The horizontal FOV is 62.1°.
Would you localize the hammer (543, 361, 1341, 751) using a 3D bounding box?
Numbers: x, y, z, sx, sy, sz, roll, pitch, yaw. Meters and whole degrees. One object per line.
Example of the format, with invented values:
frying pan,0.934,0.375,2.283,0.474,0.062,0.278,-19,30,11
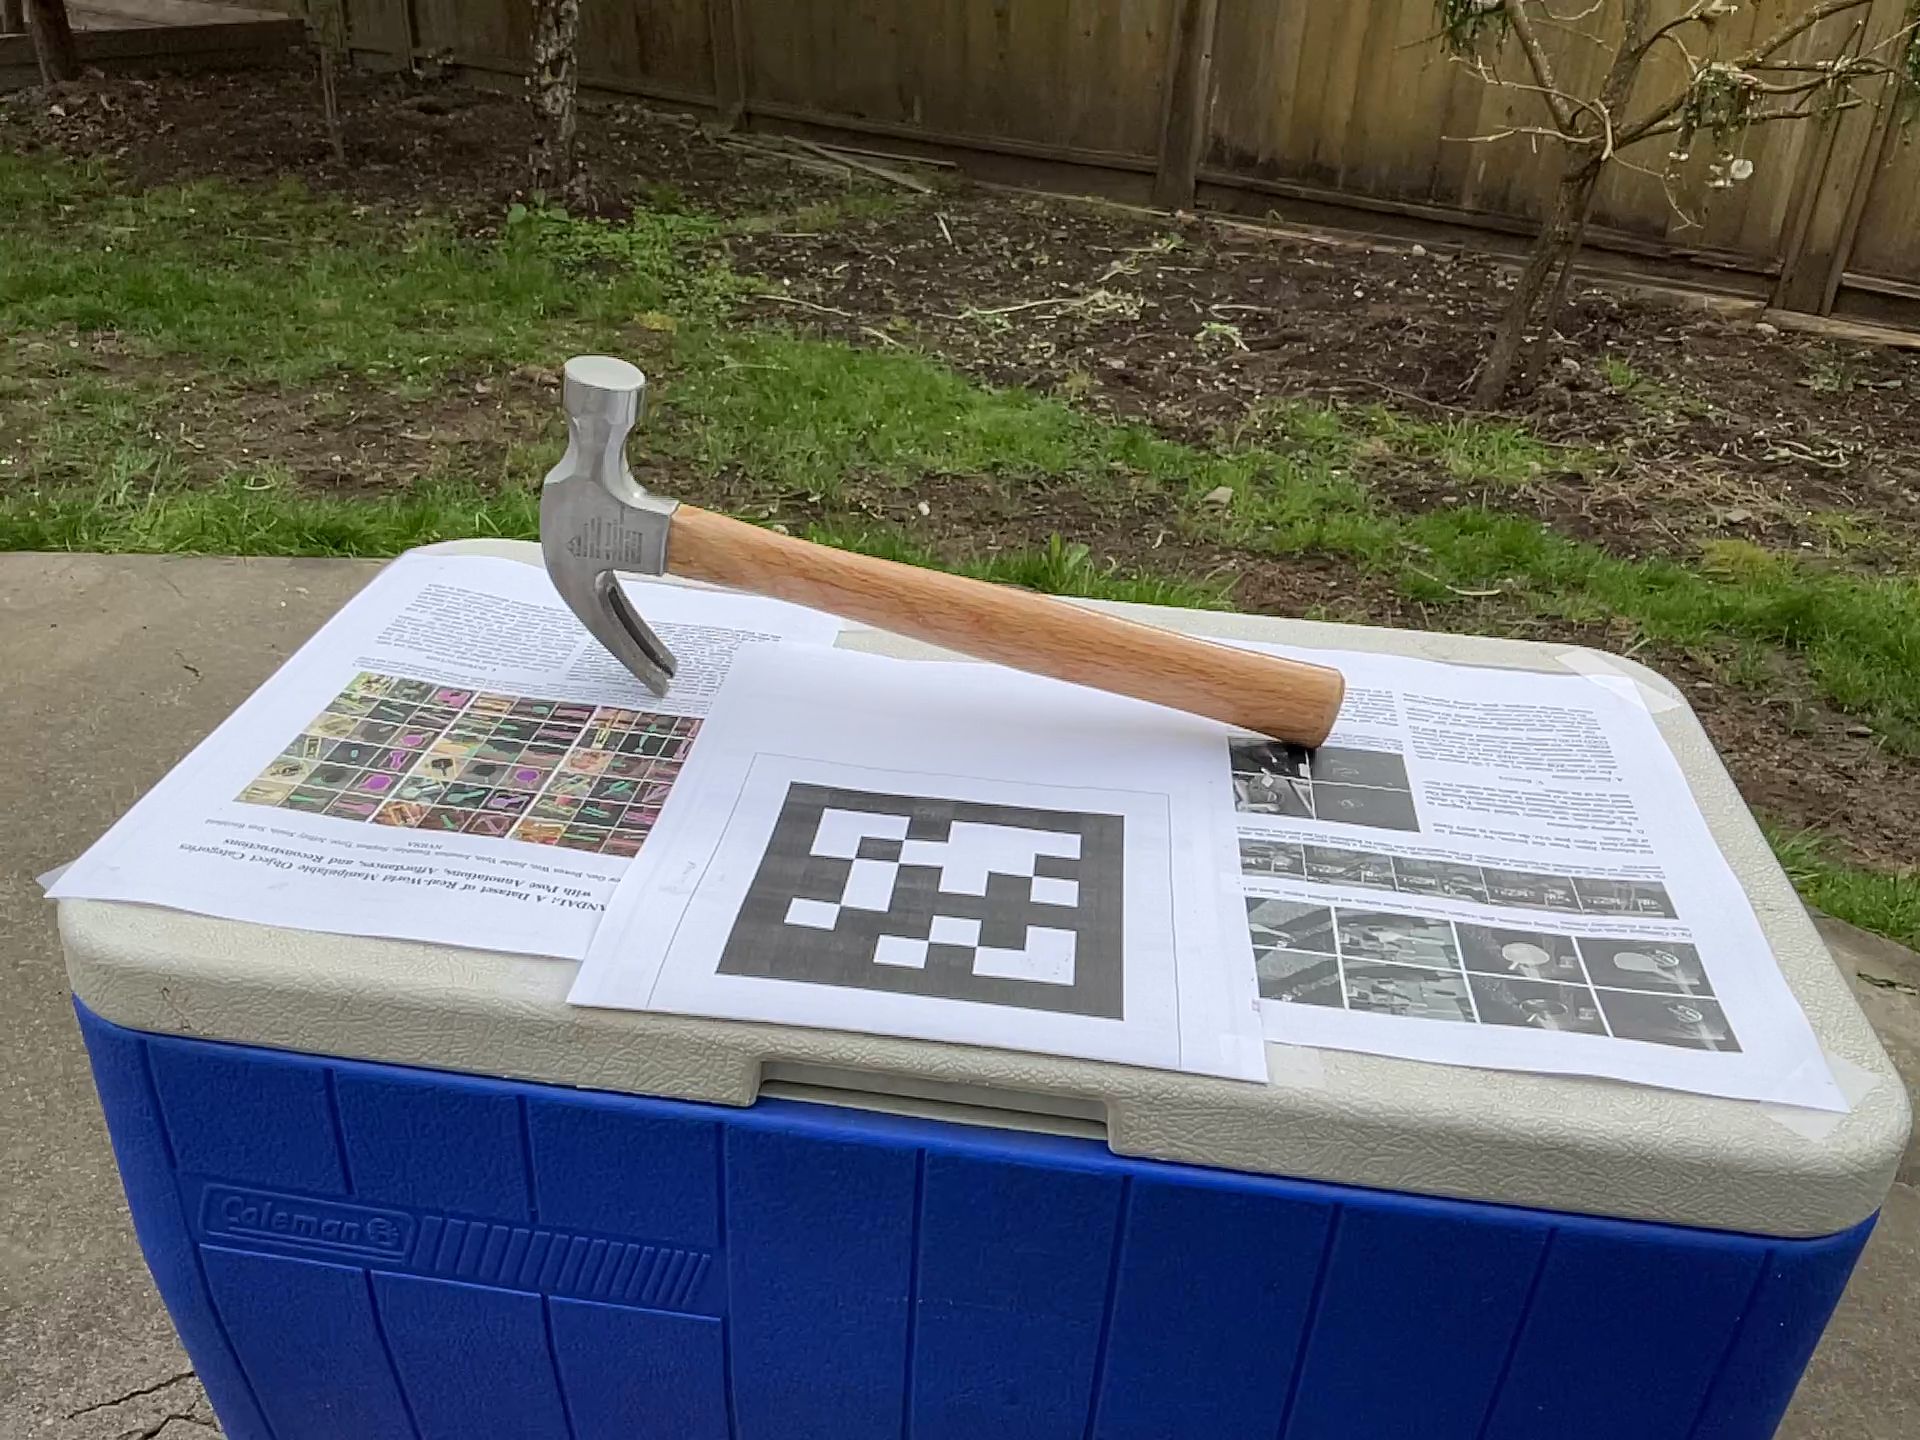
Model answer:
hammer,-0.008,-0.043,0.658,0.331,0.130,0.031,15,31,-2
